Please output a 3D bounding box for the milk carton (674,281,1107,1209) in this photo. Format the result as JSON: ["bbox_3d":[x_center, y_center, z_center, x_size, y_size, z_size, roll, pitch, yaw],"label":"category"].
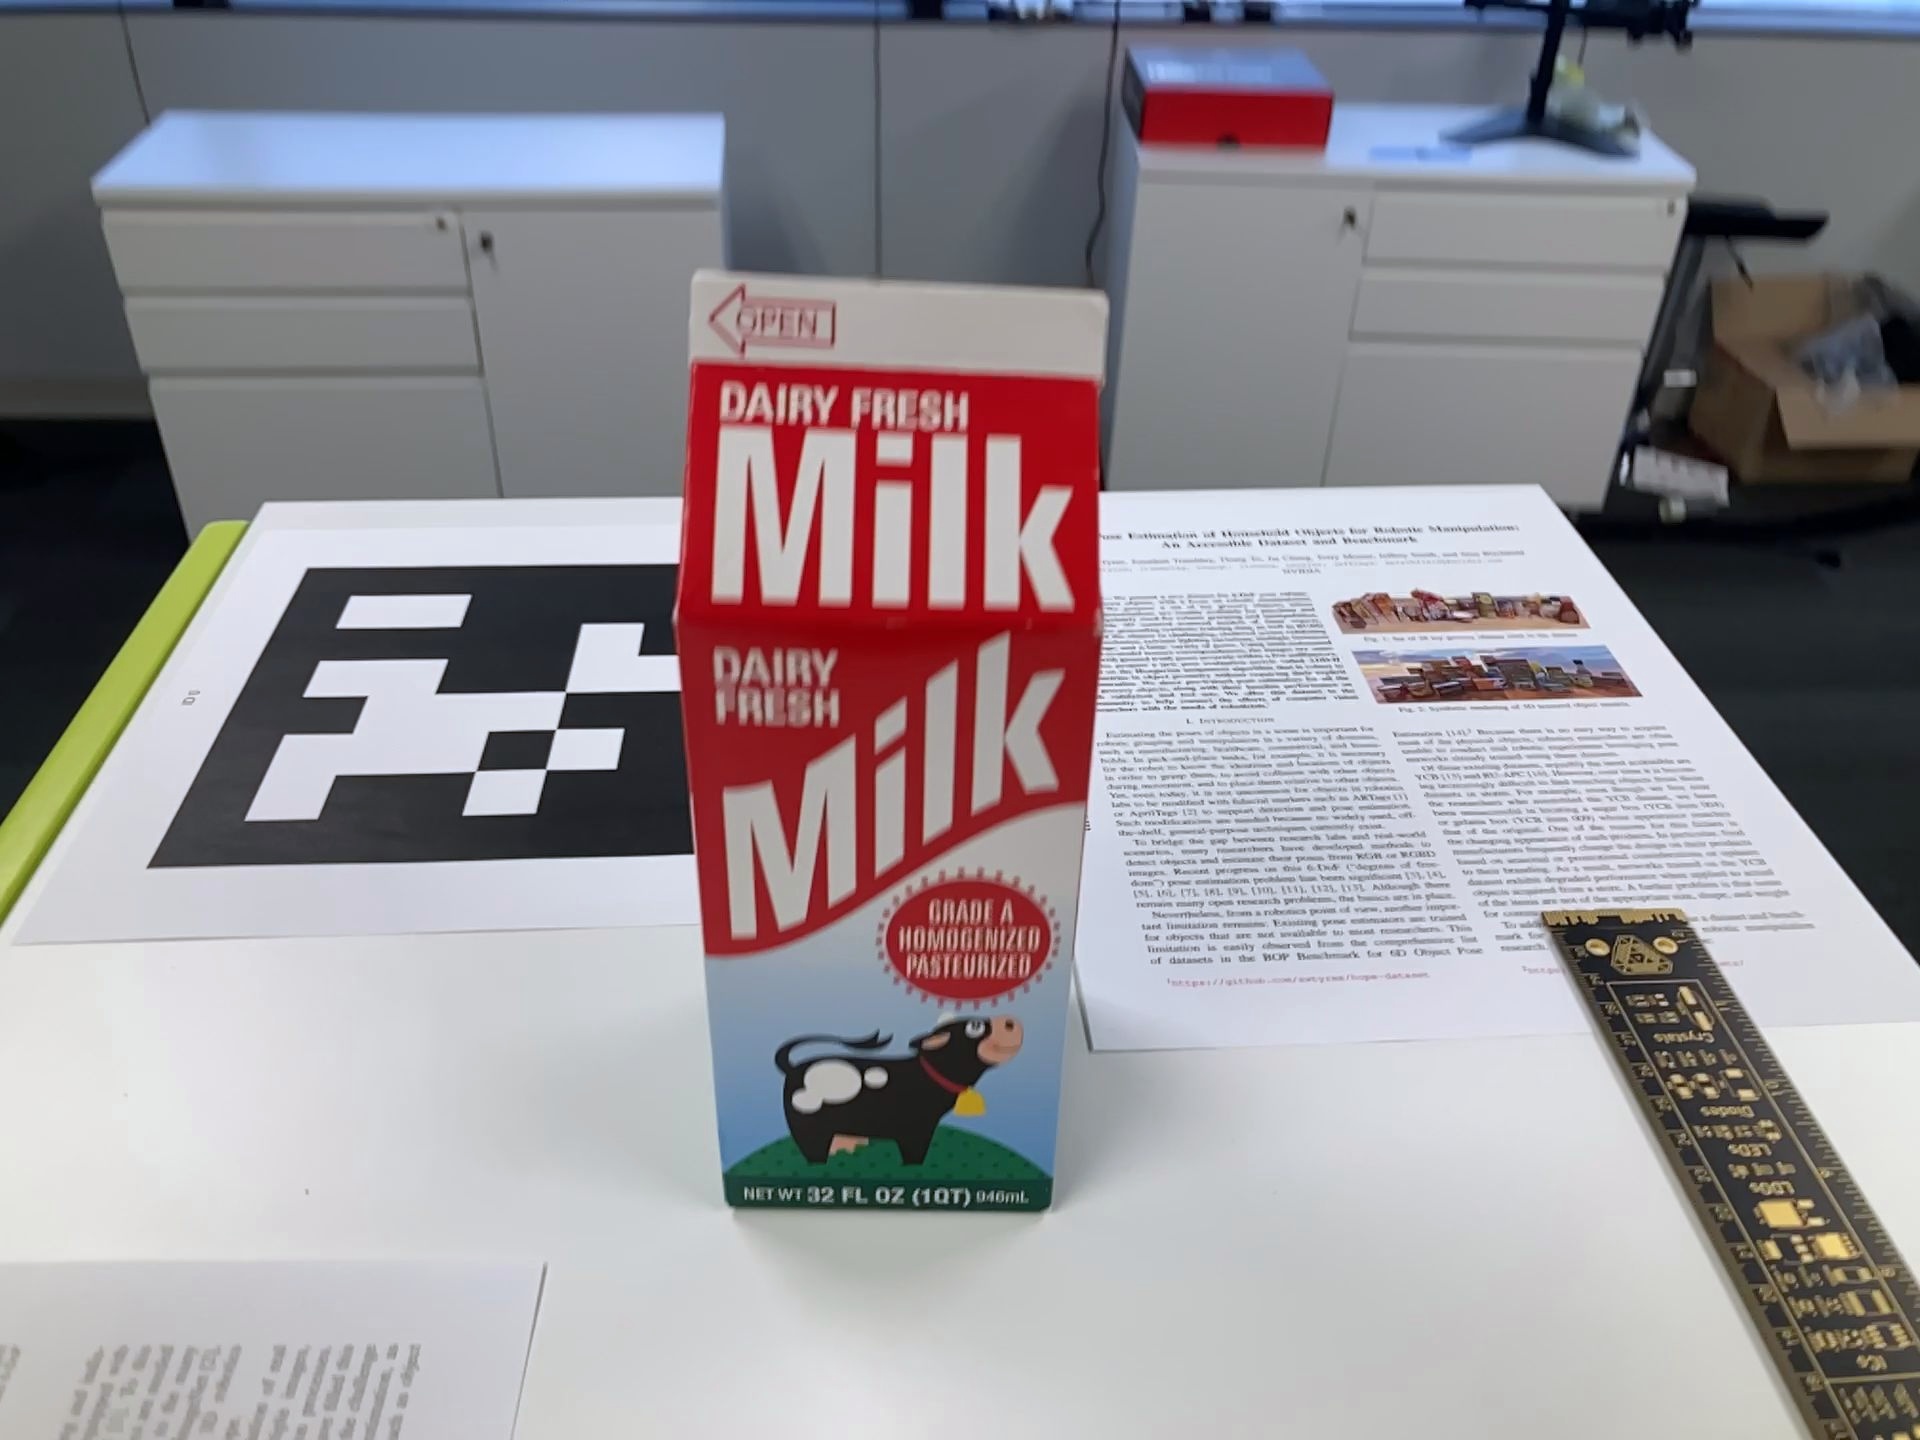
[{"bbox_3d":[-0.013,0.007,0.315,0.072,0.190,0.073,2,35,-1],"label":"milk carton"}]
